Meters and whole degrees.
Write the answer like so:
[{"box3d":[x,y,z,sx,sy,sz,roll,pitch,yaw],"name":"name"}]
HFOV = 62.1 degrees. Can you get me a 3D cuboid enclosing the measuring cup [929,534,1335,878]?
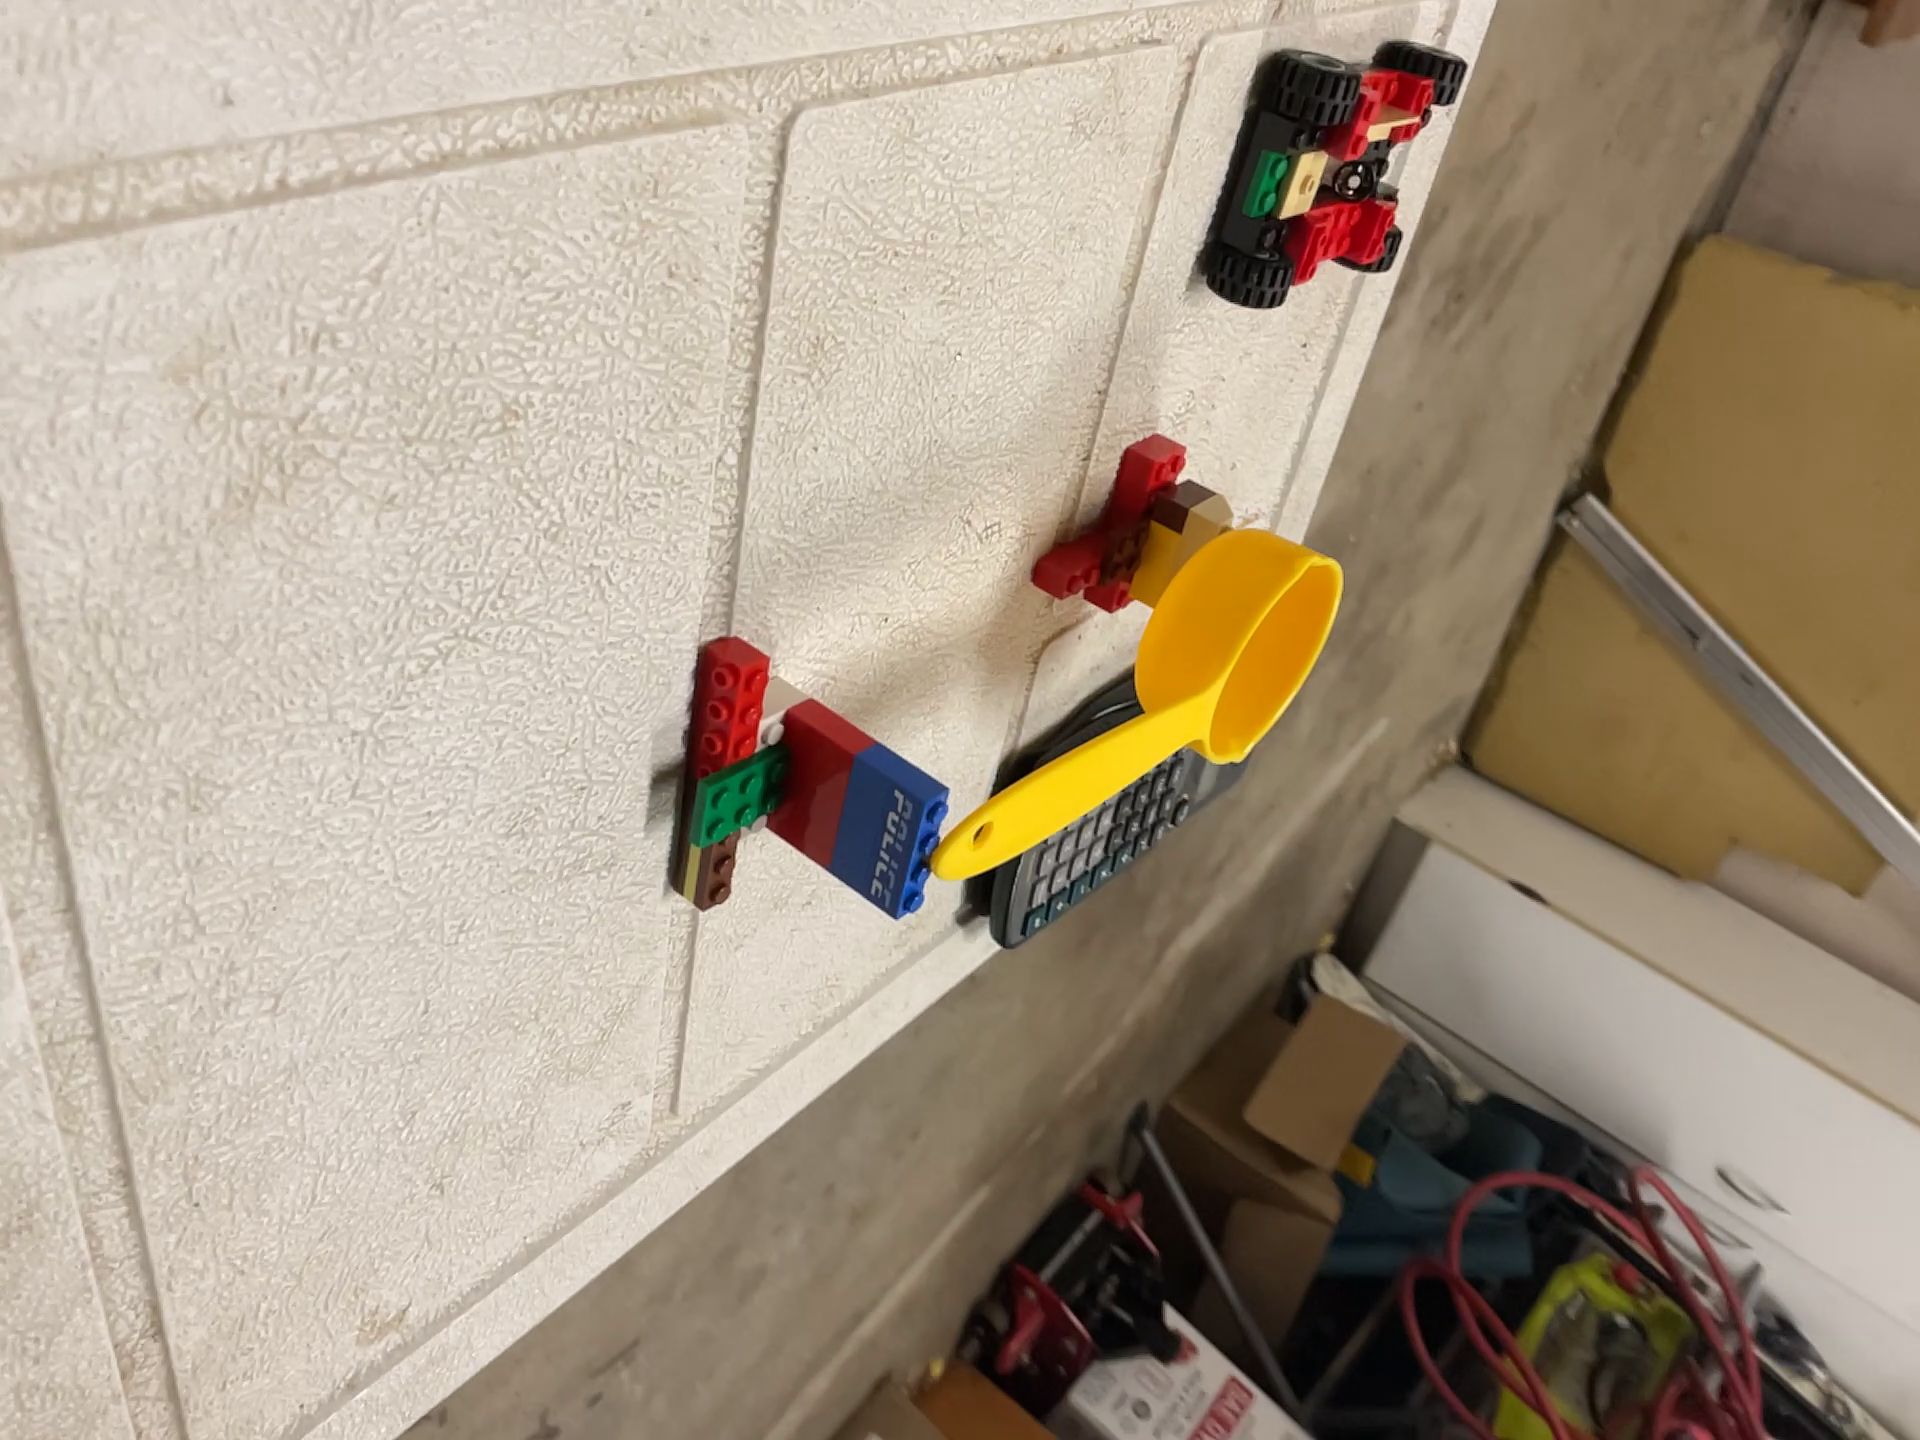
[{"box3d":[0.038,-0.004,0.386,0.156,0.029,0.062,-28,142,-41],"name":"measuring cup"}]
